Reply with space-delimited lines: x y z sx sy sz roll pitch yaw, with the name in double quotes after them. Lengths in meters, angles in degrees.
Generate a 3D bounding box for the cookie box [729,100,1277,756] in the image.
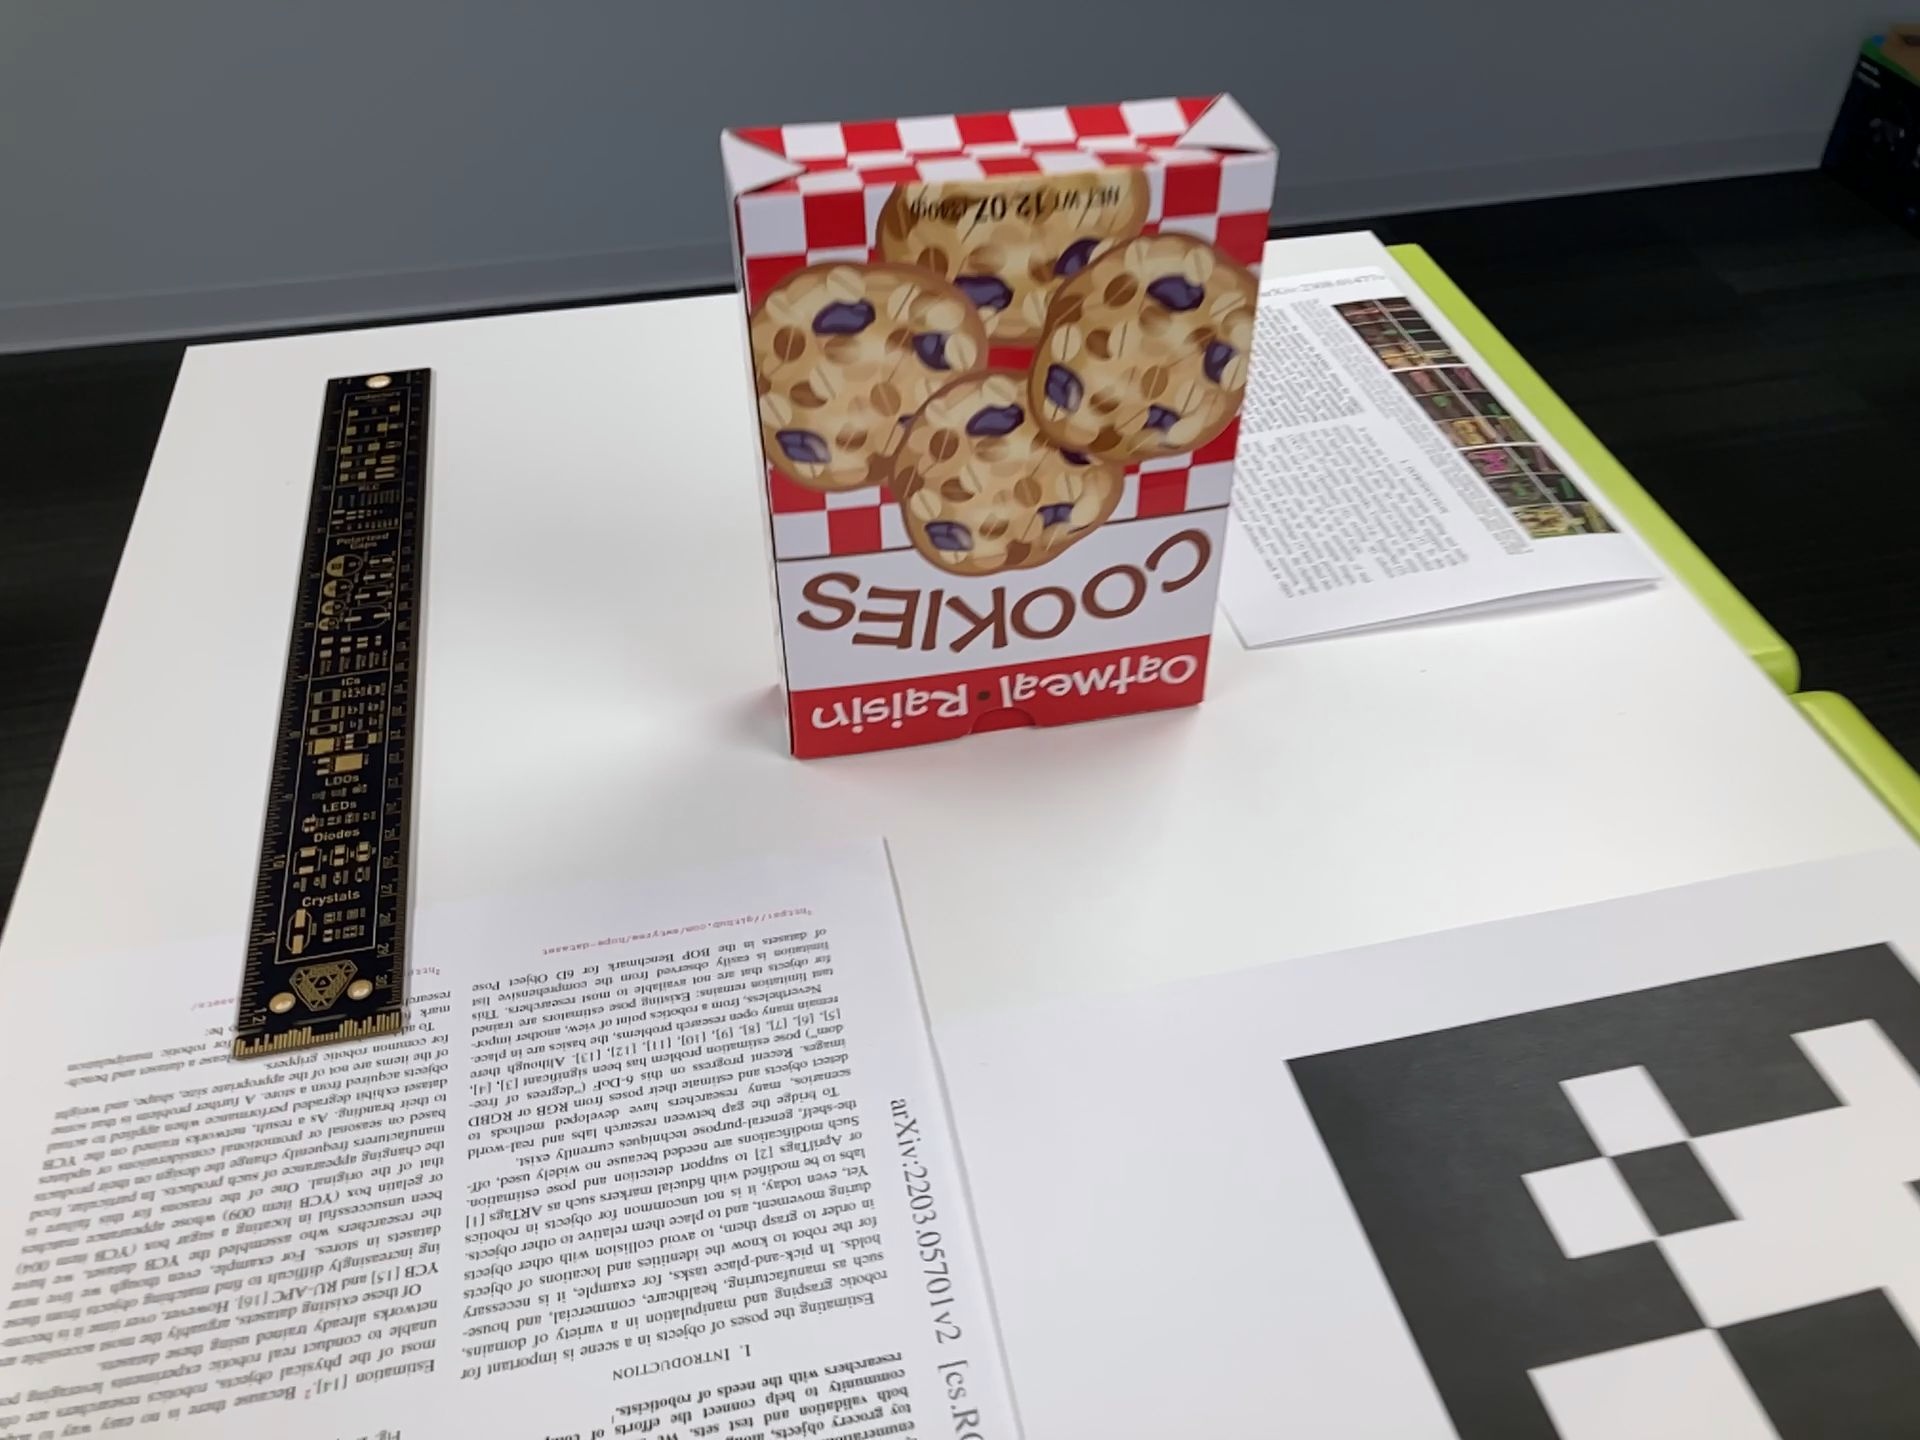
0.009 -0.069 0.418 0.123 0.167 0.040 -7 42 -8 "cookie box"
